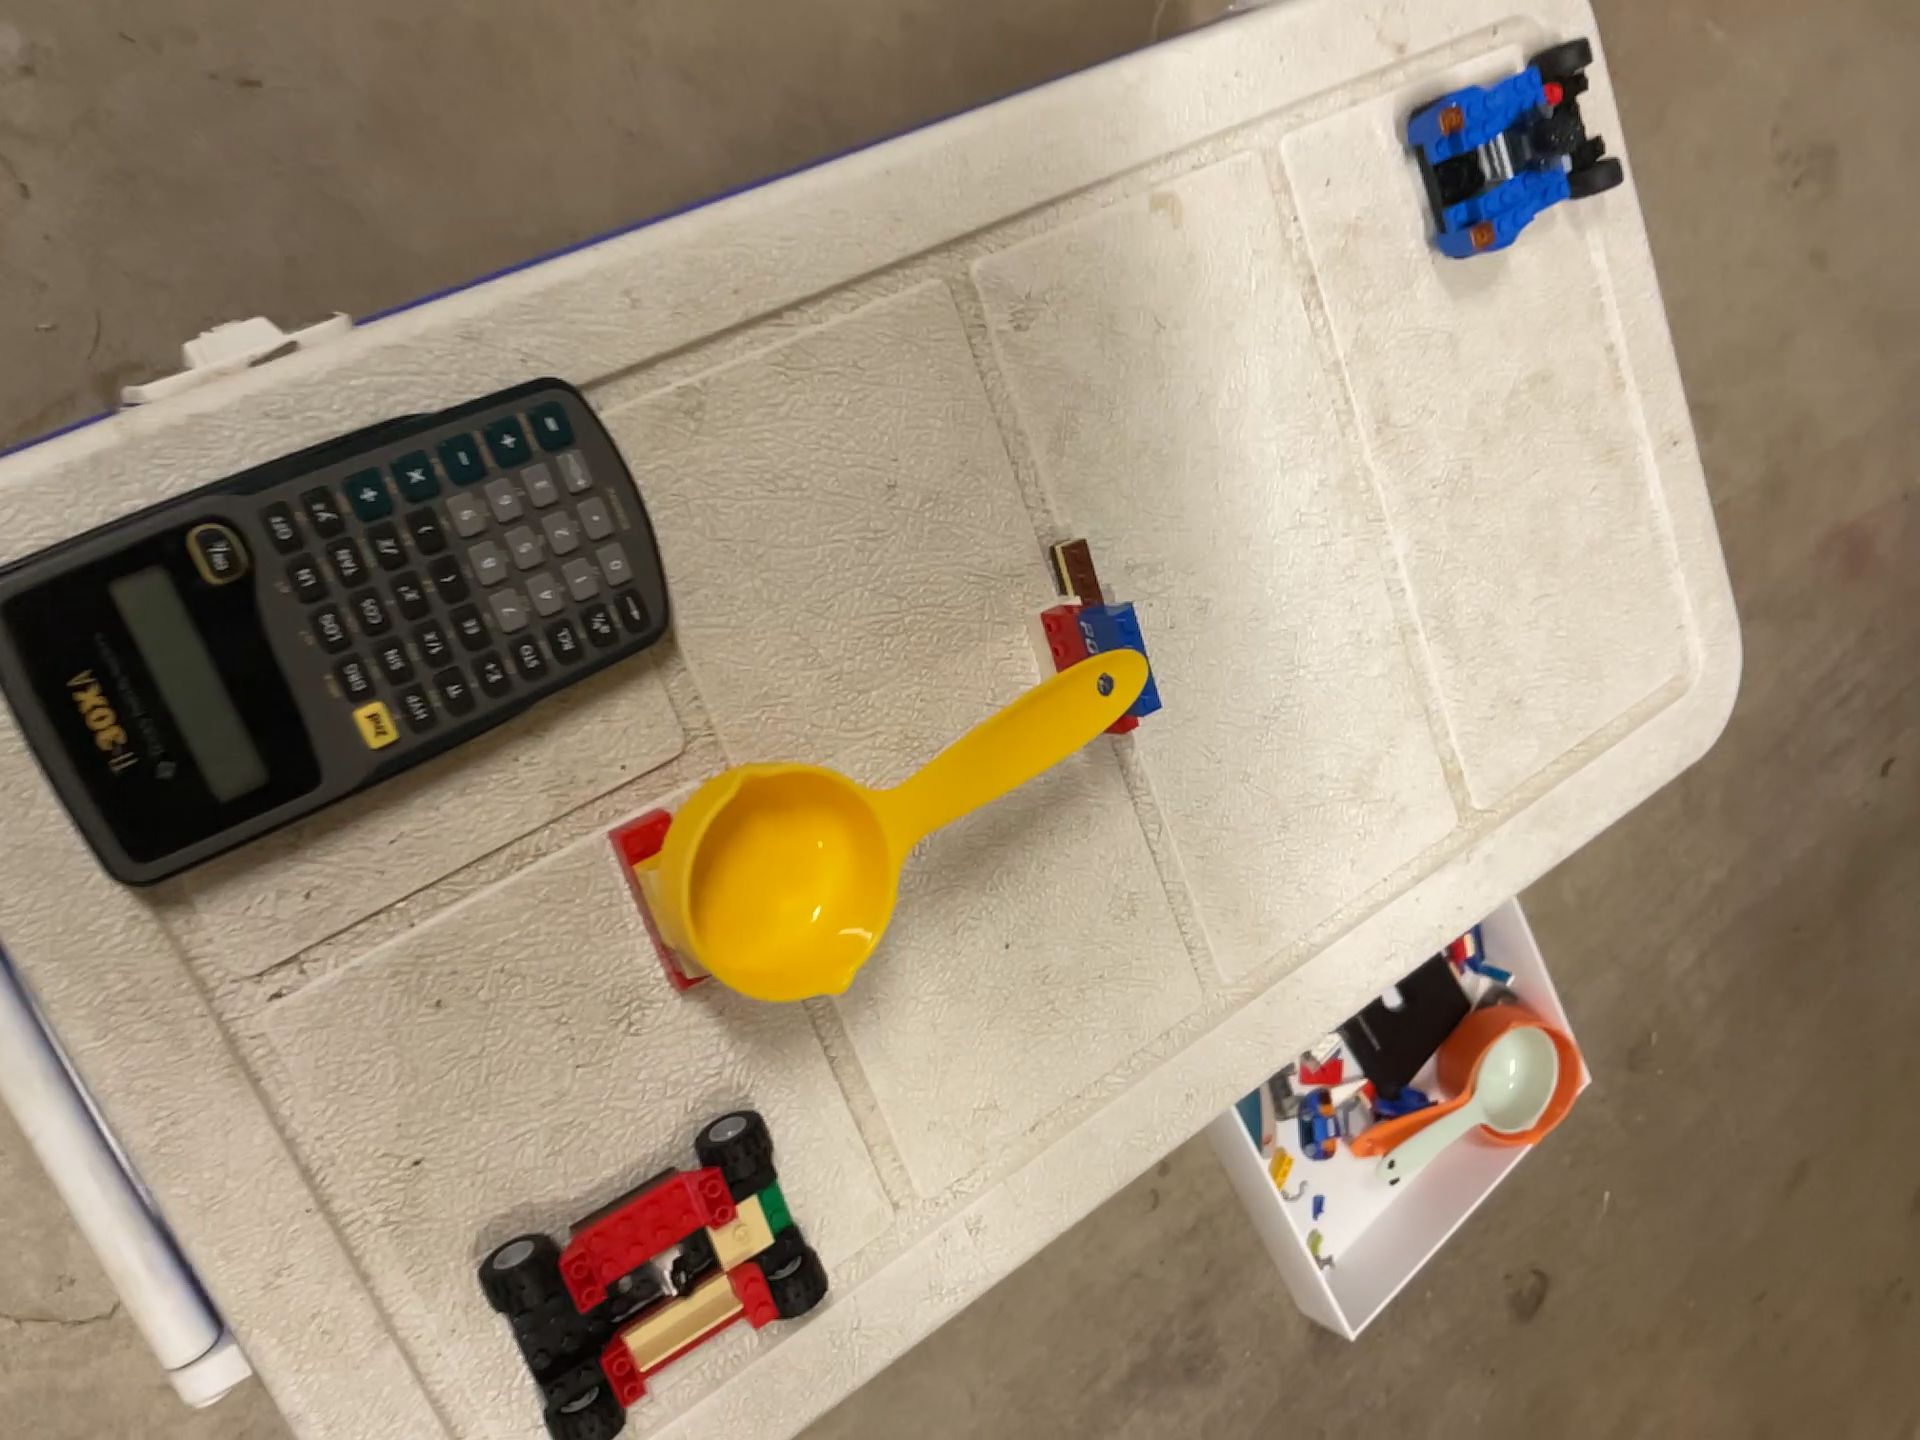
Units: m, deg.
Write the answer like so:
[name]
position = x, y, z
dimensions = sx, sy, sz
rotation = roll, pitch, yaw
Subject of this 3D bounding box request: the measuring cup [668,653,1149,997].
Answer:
[measuring cup]
position = -0.011, 0.019, 0.438
dimensions = 0.156, 0.029, 0.062
rotation = -31, 109, -28
